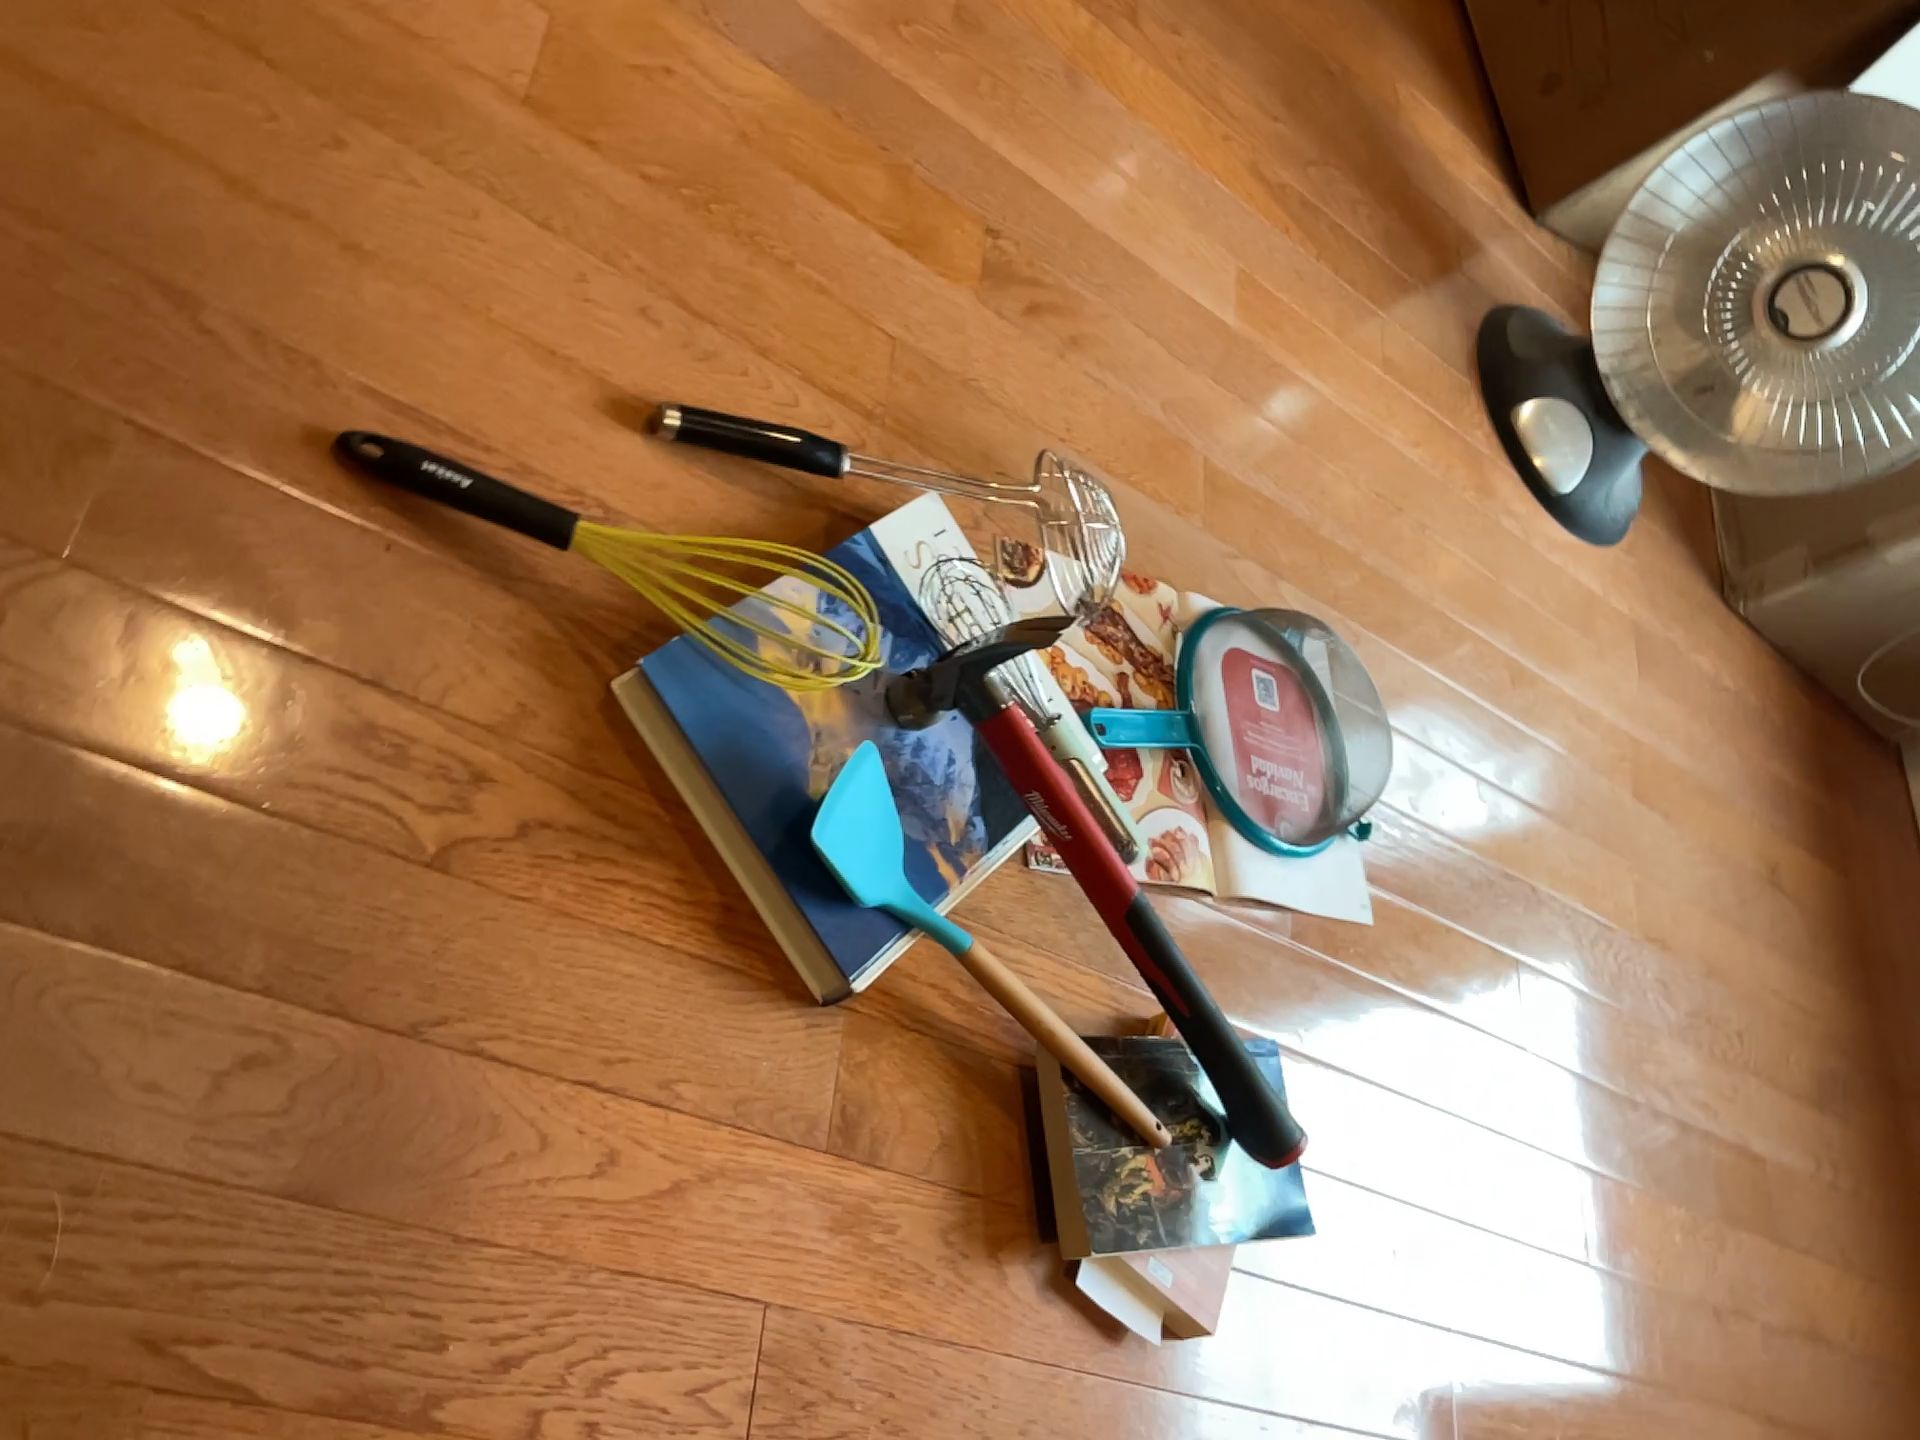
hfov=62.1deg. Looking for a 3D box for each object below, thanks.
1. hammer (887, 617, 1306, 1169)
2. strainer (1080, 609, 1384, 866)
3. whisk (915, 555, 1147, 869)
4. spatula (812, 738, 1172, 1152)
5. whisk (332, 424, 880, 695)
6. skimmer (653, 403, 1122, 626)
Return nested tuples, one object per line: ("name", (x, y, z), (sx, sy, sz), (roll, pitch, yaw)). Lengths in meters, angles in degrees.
("hammer", (0.110, 0.113, 0.961), (0.386, 0.143, 0.038), (55, 48, -11))
("strainer", (0.223, -0.003, 1.179), (0.340, 0.095, 0.211), (3, 69, -49))
("whisk", (0.050, -0.003, 1.022), (0.246, 0.057, 0.059), (55, 13, -14))
("spatula", (0.027, 0.148, 0.923), (0.317, 0.044, 0.083), (46, 45, -17))
("whisk", (-0.185, -0.091, 0.863), (0.311, 0.067, 0.080), (23, 71, -16))
("skimmer", (-0.038, -0.147, 1.069), (0.363, 0.090, 0.127), (8, 67, -28))
